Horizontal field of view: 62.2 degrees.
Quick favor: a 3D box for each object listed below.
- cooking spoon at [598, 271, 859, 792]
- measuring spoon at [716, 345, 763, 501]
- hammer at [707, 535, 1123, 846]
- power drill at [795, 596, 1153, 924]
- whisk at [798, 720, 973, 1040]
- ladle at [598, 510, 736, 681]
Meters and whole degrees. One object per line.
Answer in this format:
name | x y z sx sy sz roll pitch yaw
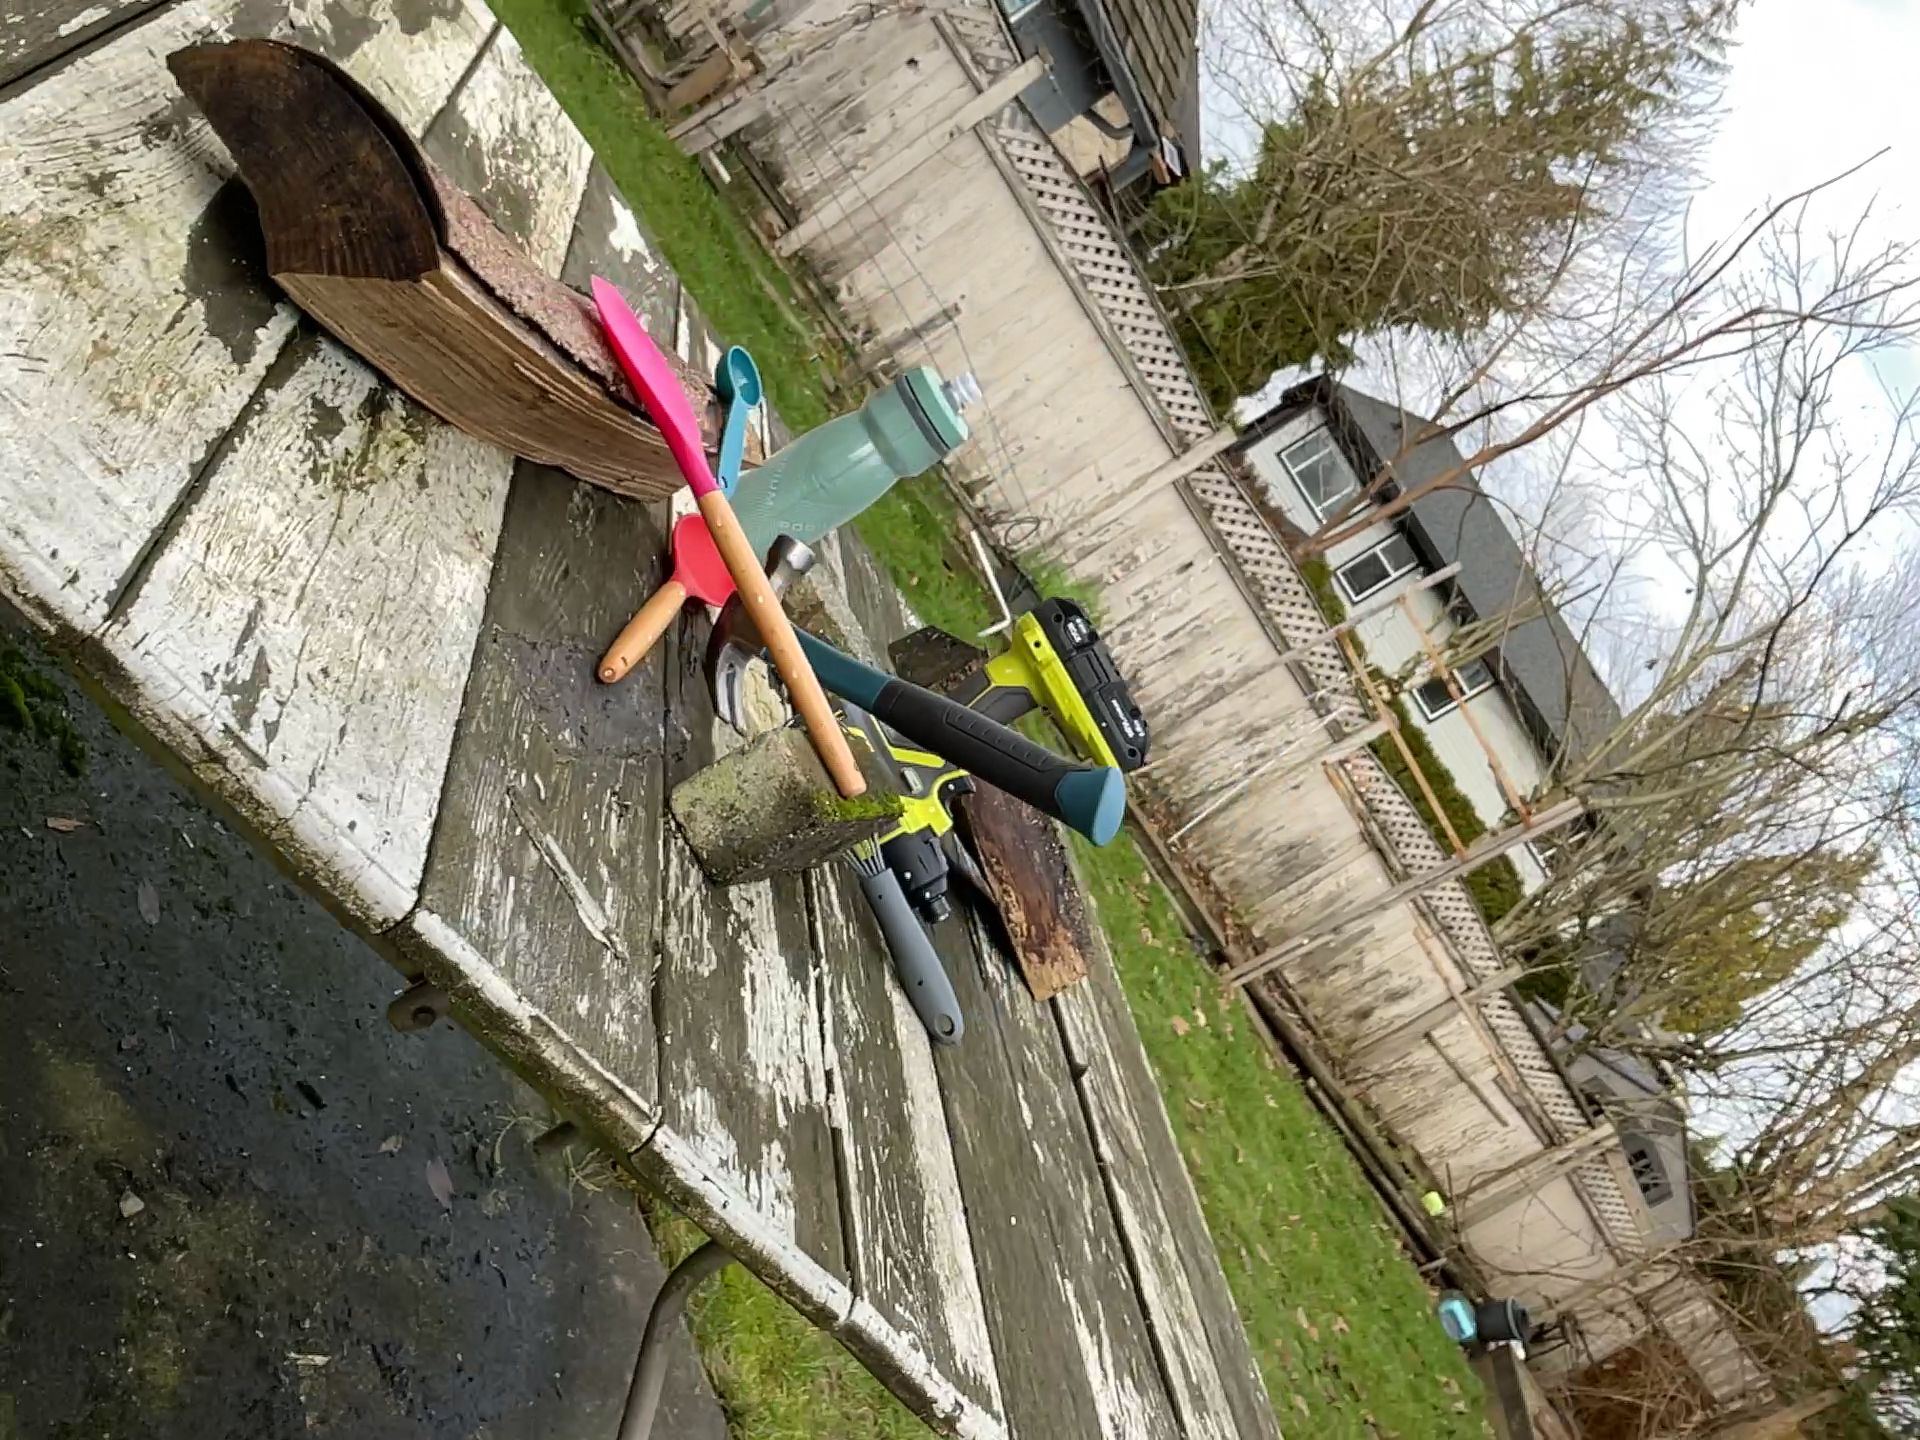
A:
cooking spoon | -0.130 -0.105 0.885 0.319 0.017 0.068 64 9 3
measuring spoon | -0.154 -0.193 1.052 0.042 0.021 0.129 49 36 -49
hammer | -0.034 -0.009 0.971 0.331 0.128 0.033 27 -10 36
power drill | 0.016 0.026 1.131 0.171 0.223 0.080 61 2 2
whisk | -0.050 0.103 1.052 0.239 0.055 0.055 62 18 0
ladle | -0.183 -0.076 1.009 0.069 0.031 0.315 59 12 -15
